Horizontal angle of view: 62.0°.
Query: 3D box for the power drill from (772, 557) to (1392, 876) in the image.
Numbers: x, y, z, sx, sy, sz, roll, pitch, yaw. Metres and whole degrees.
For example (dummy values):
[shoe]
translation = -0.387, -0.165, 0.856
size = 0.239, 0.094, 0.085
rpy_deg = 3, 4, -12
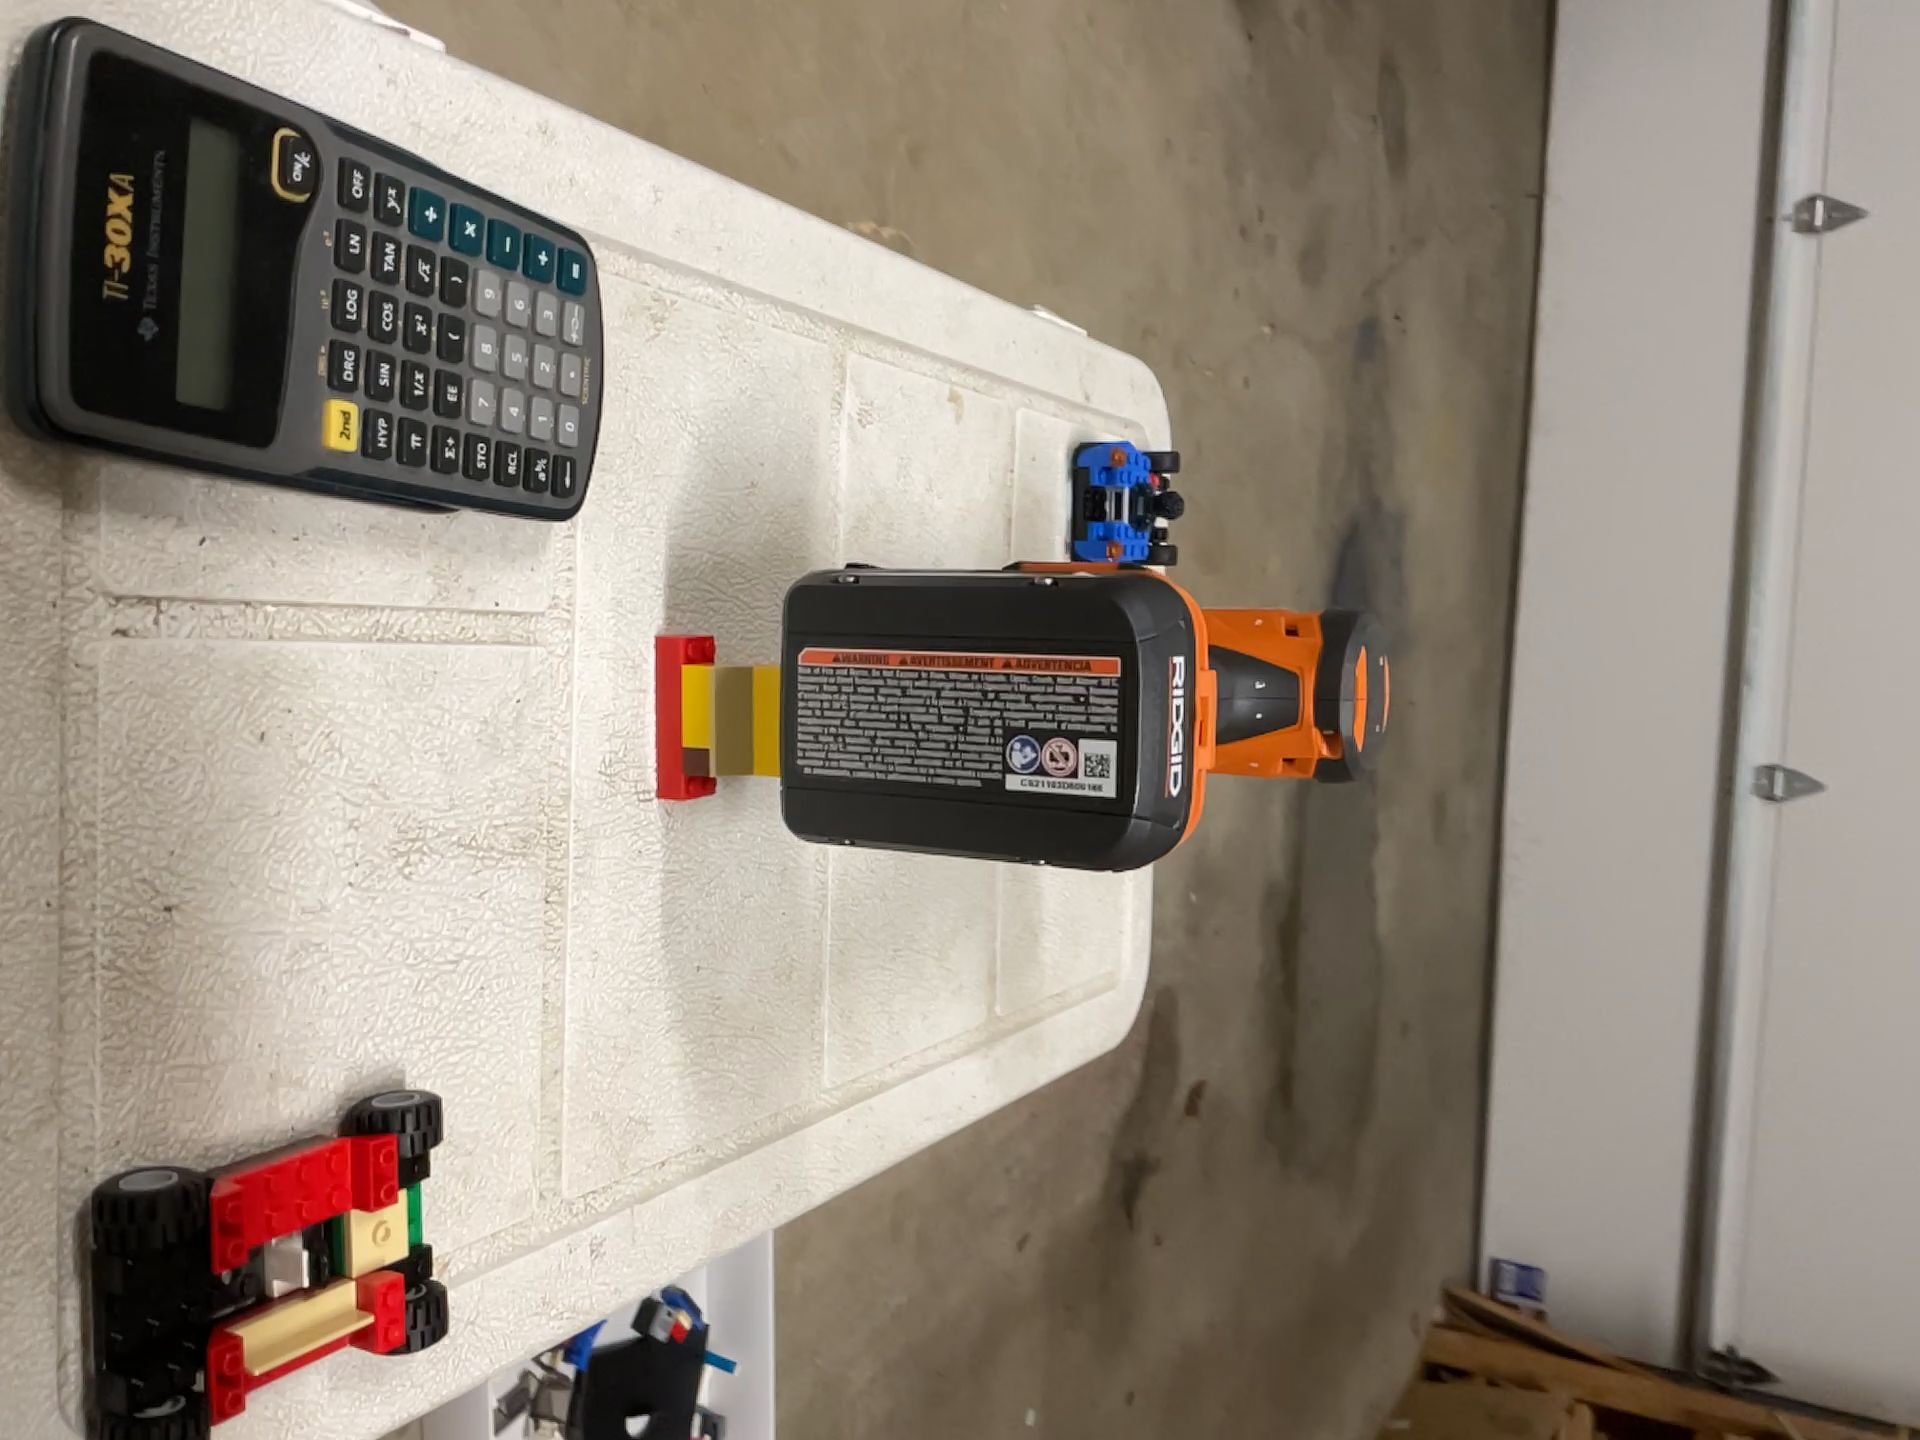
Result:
[power drill]
translation = 0.033, -0.007, 0.515
size = 0.226, 0.164, 0.084
rpy_deg = -6, 98, -62
